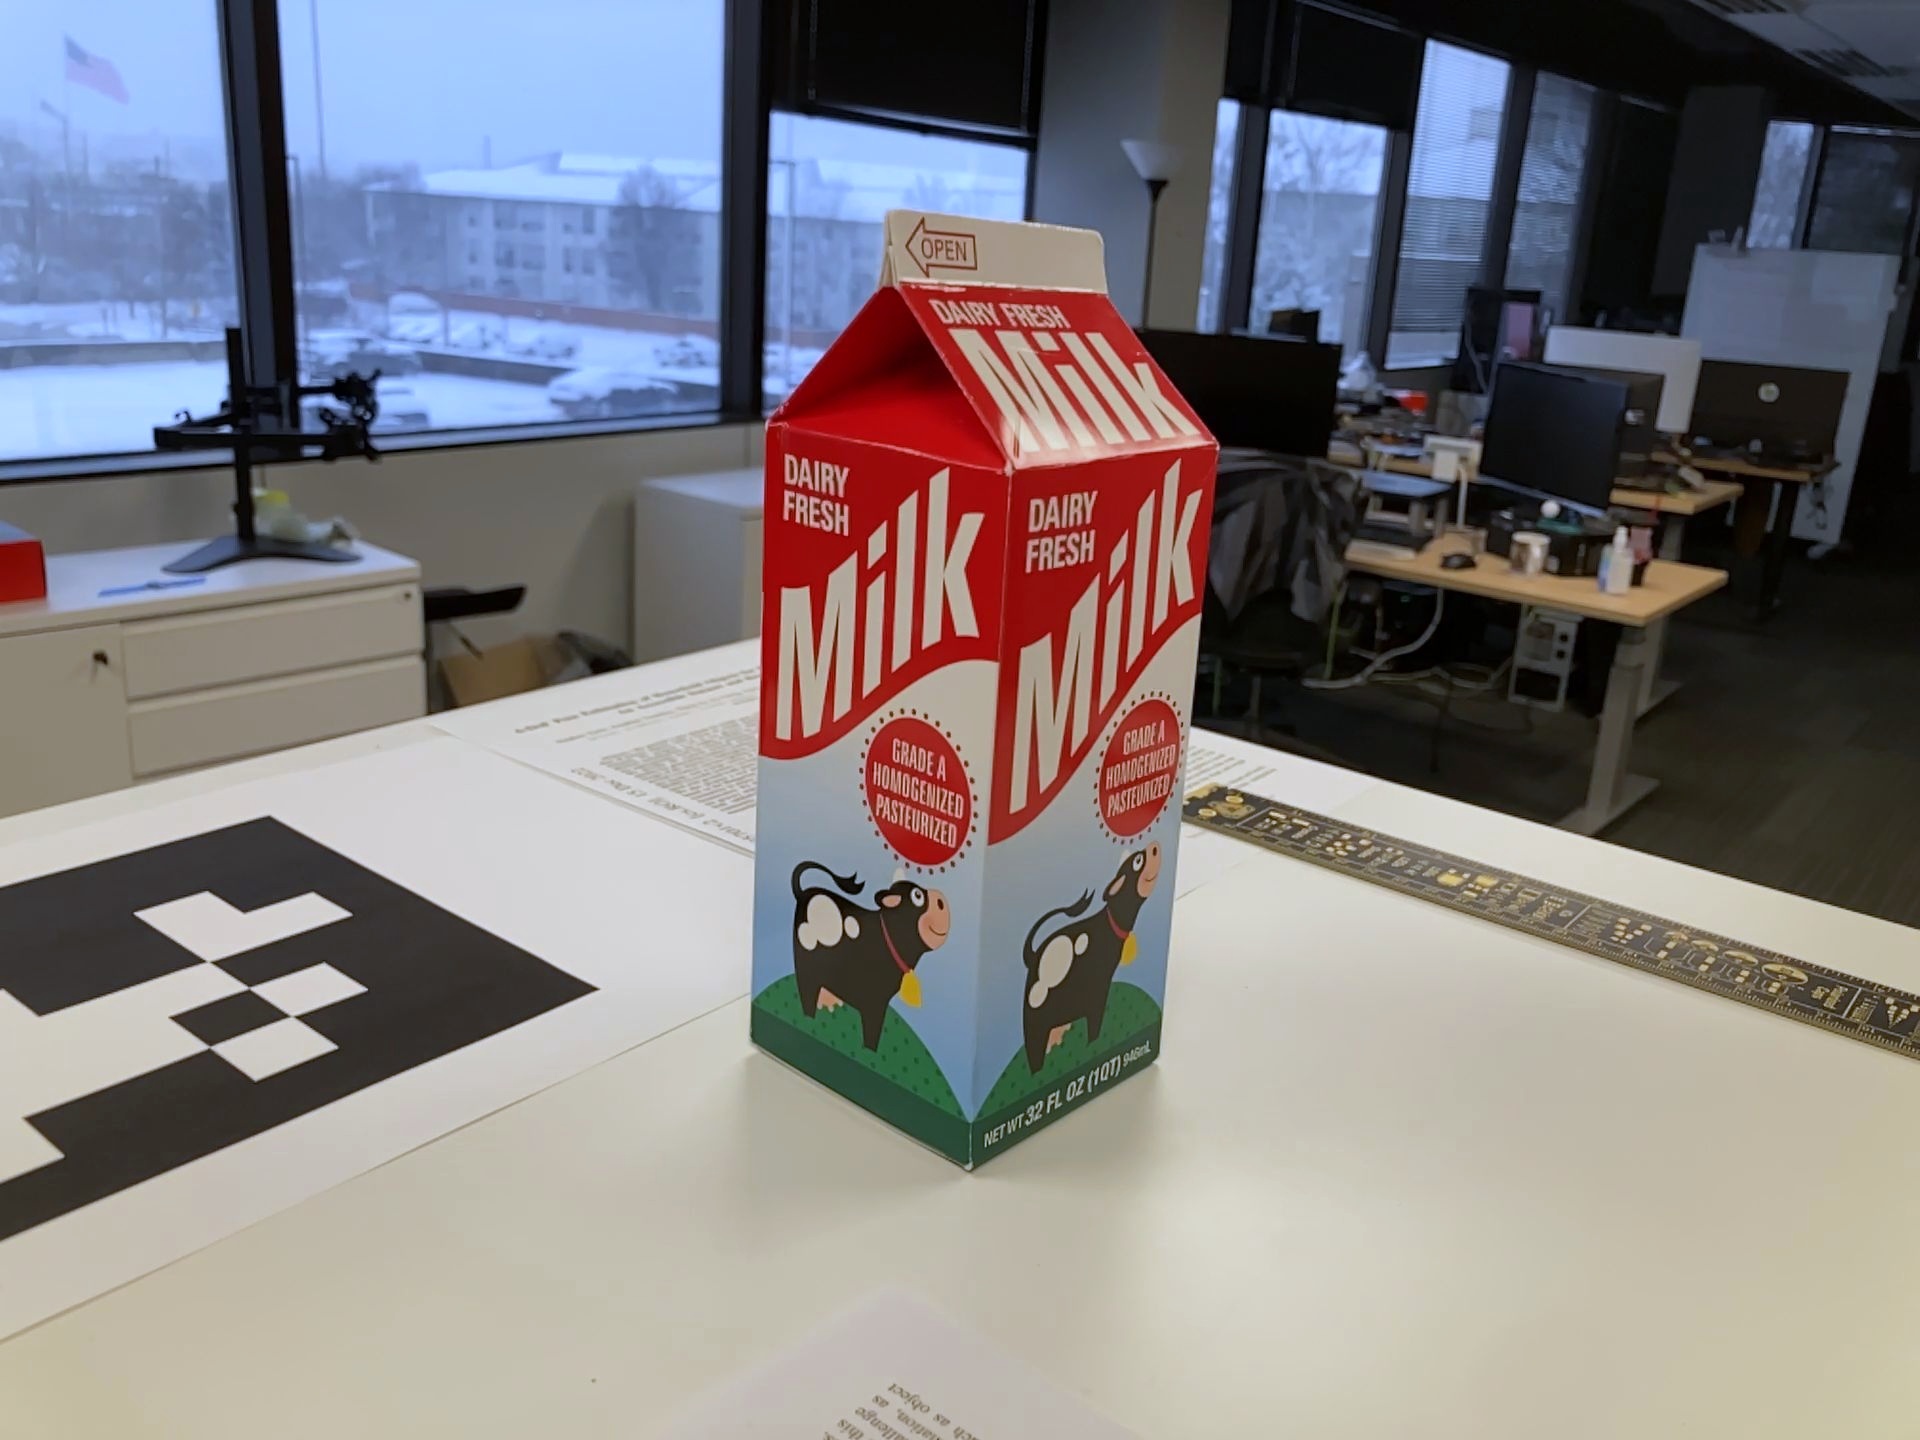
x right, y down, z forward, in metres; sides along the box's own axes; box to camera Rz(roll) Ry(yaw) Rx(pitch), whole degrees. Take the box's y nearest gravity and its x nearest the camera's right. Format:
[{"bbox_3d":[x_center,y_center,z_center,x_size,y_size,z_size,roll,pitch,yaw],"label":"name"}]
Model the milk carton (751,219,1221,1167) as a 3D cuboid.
[{"bbox_3d":[0.004,-0.010,0.354,0.073,0.190,0.072,17,20,39],"label":"milk carton"}]
